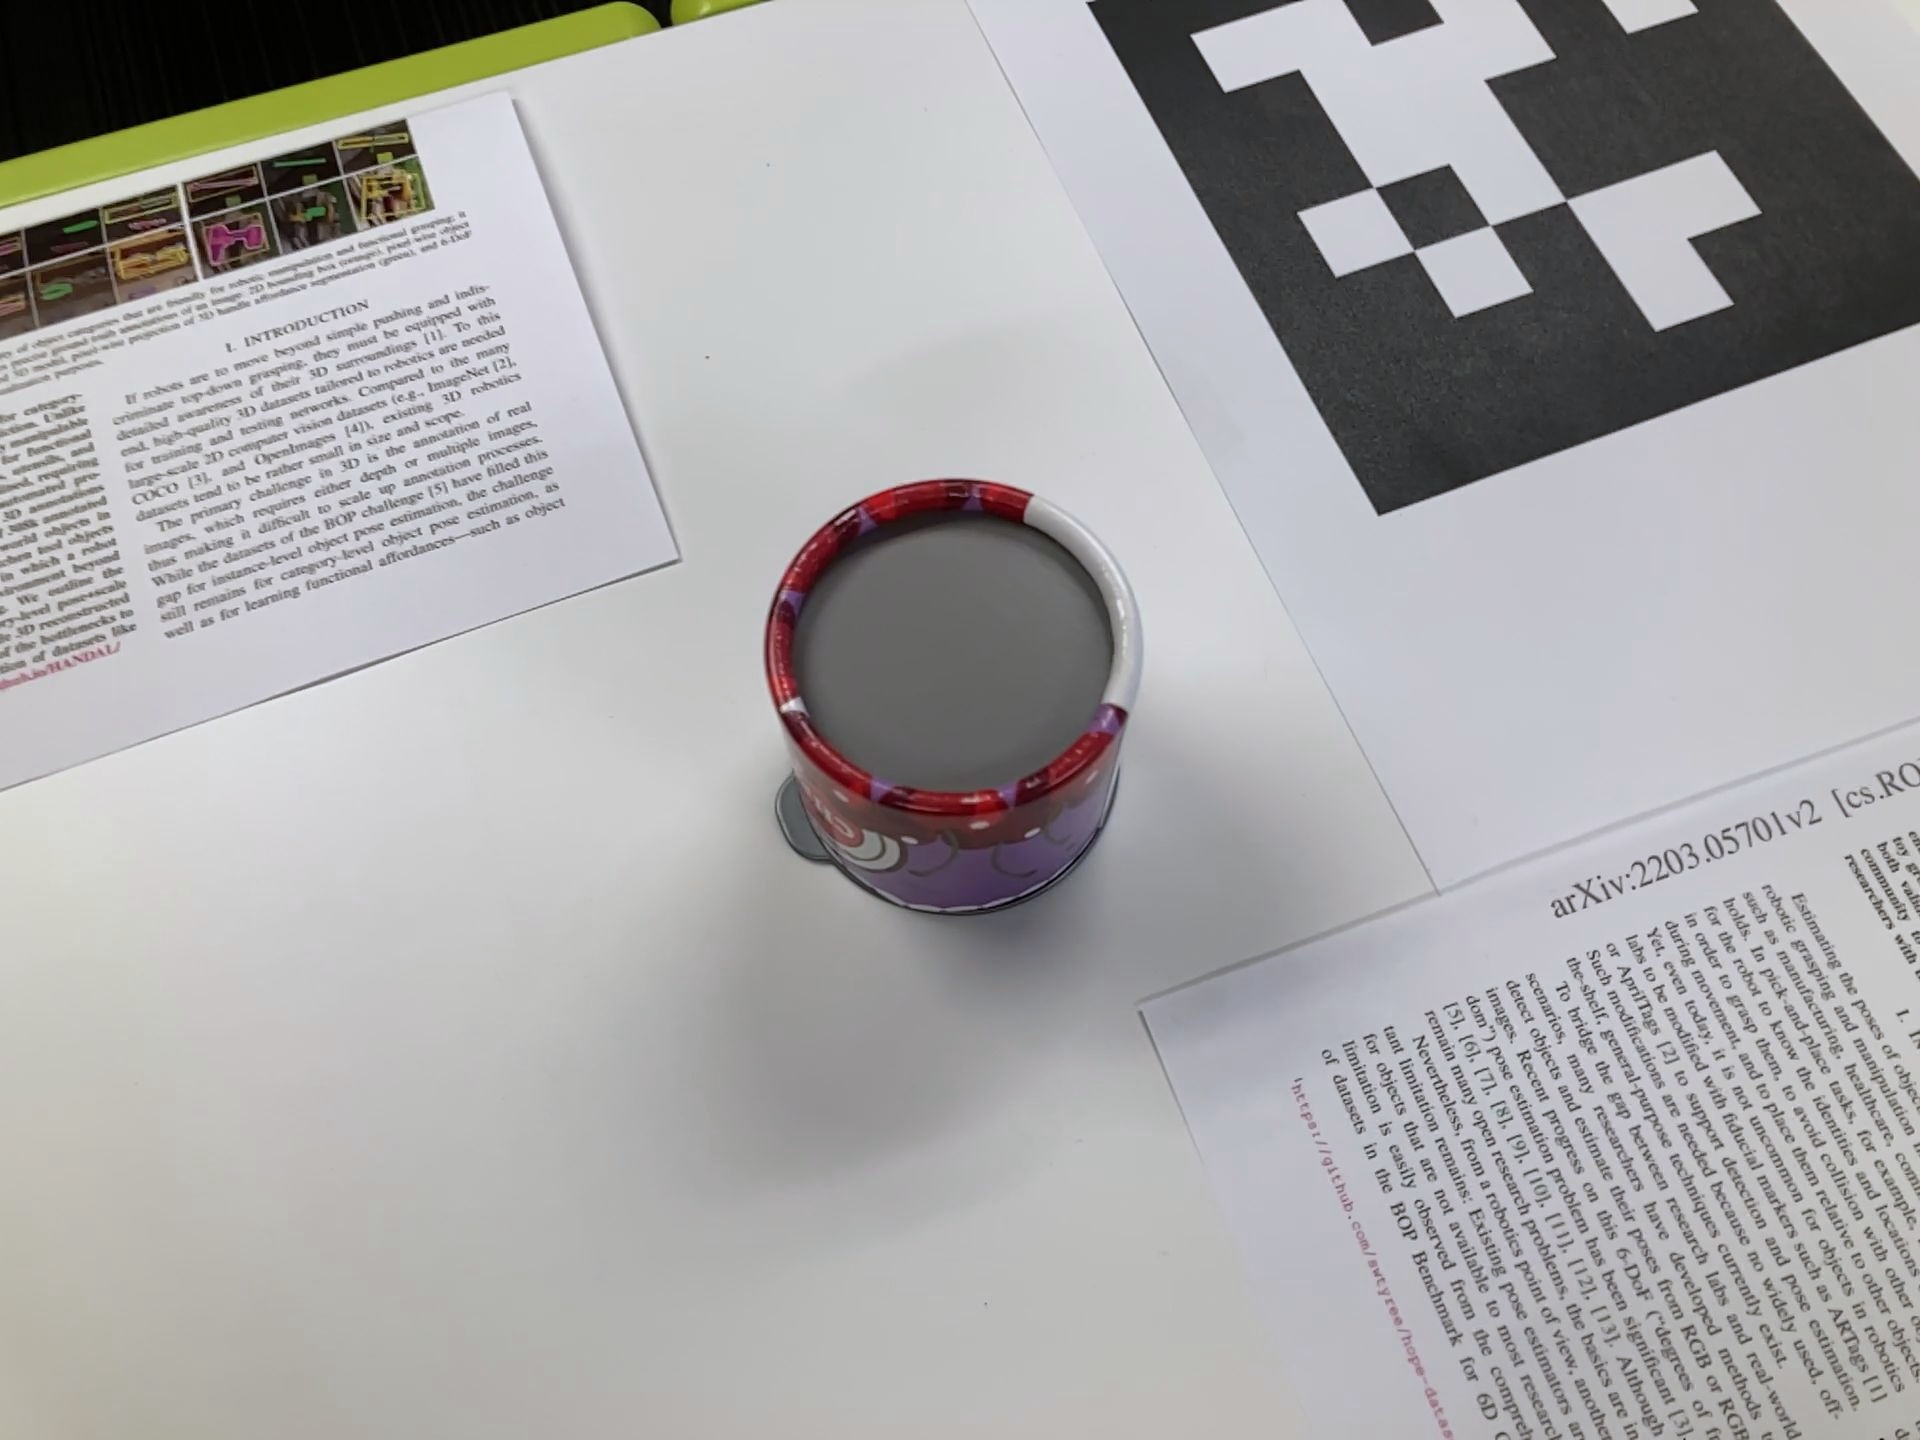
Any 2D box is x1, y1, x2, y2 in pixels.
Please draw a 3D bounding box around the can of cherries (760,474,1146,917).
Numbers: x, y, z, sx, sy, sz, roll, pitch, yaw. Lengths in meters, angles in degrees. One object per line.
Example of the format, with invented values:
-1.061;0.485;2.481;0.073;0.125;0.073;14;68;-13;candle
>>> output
-0.003;-0.002;0.293;0.071;0.058;0.071;0;67;1;can of cherries
